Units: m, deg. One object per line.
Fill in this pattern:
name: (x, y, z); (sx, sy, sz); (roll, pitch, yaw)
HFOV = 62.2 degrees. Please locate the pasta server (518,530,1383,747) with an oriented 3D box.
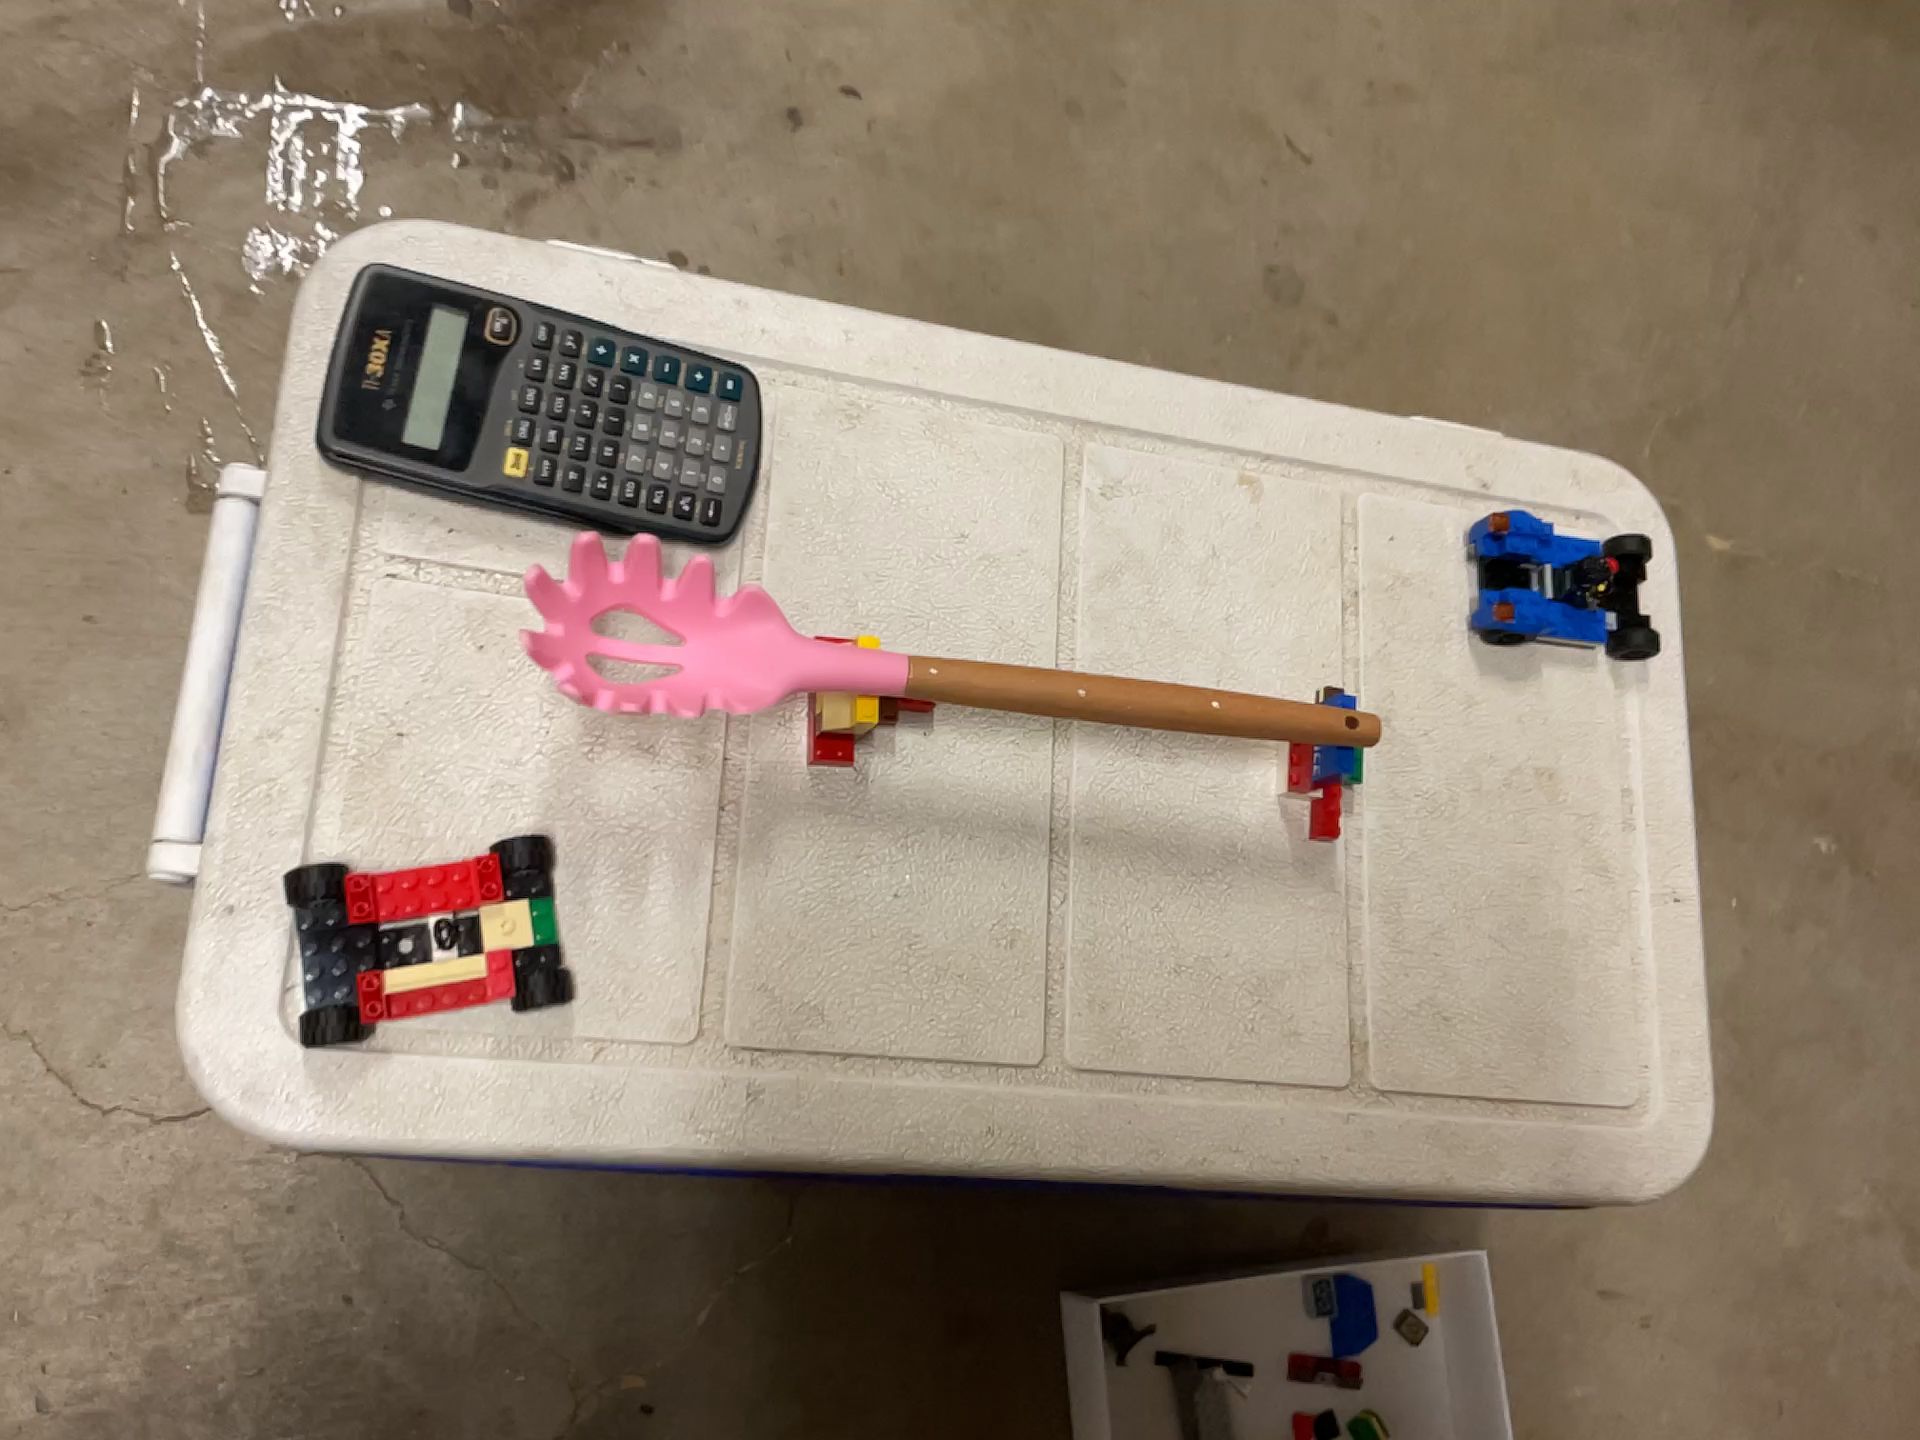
pasta server: (0.009, -0.015, 0.557); (0.316, 0.040, 0.060); (7, 75, -16)
